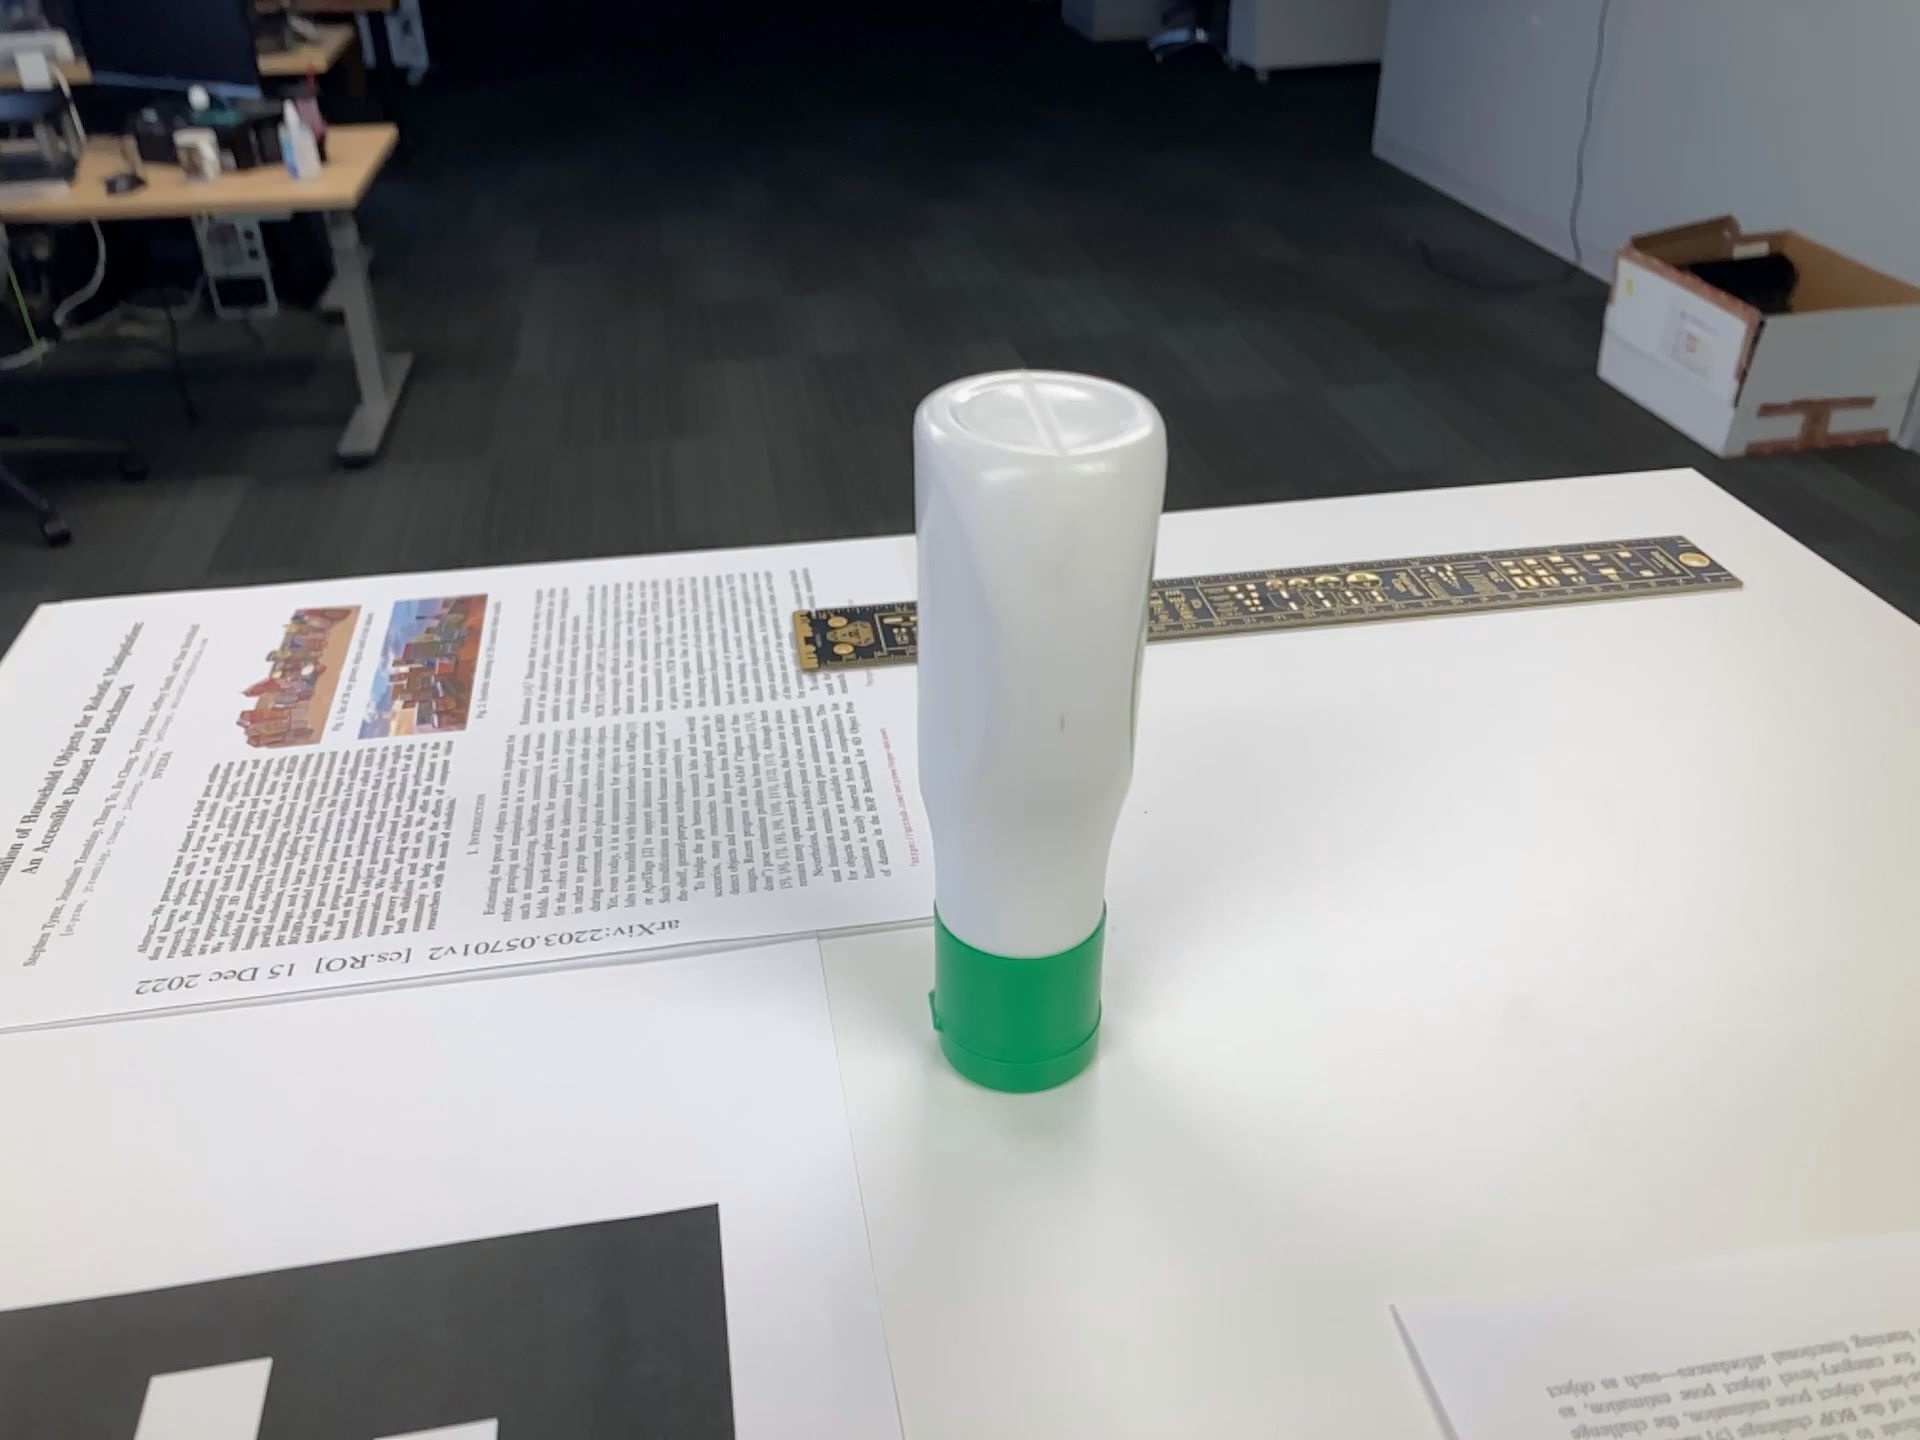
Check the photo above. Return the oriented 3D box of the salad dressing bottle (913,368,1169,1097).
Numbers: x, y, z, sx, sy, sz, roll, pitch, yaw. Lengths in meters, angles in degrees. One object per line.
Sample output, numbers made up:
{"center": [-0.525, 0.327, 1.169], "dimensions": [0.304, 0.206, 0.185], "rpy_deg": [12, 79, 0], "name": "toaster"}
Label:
{"center": [0.013, 0.008, 0.313], "dimensions": [0.044, 0.147, 0.064], "rpy_deg": [-4, 32, -7], "name": "salad dressing bottle"}
